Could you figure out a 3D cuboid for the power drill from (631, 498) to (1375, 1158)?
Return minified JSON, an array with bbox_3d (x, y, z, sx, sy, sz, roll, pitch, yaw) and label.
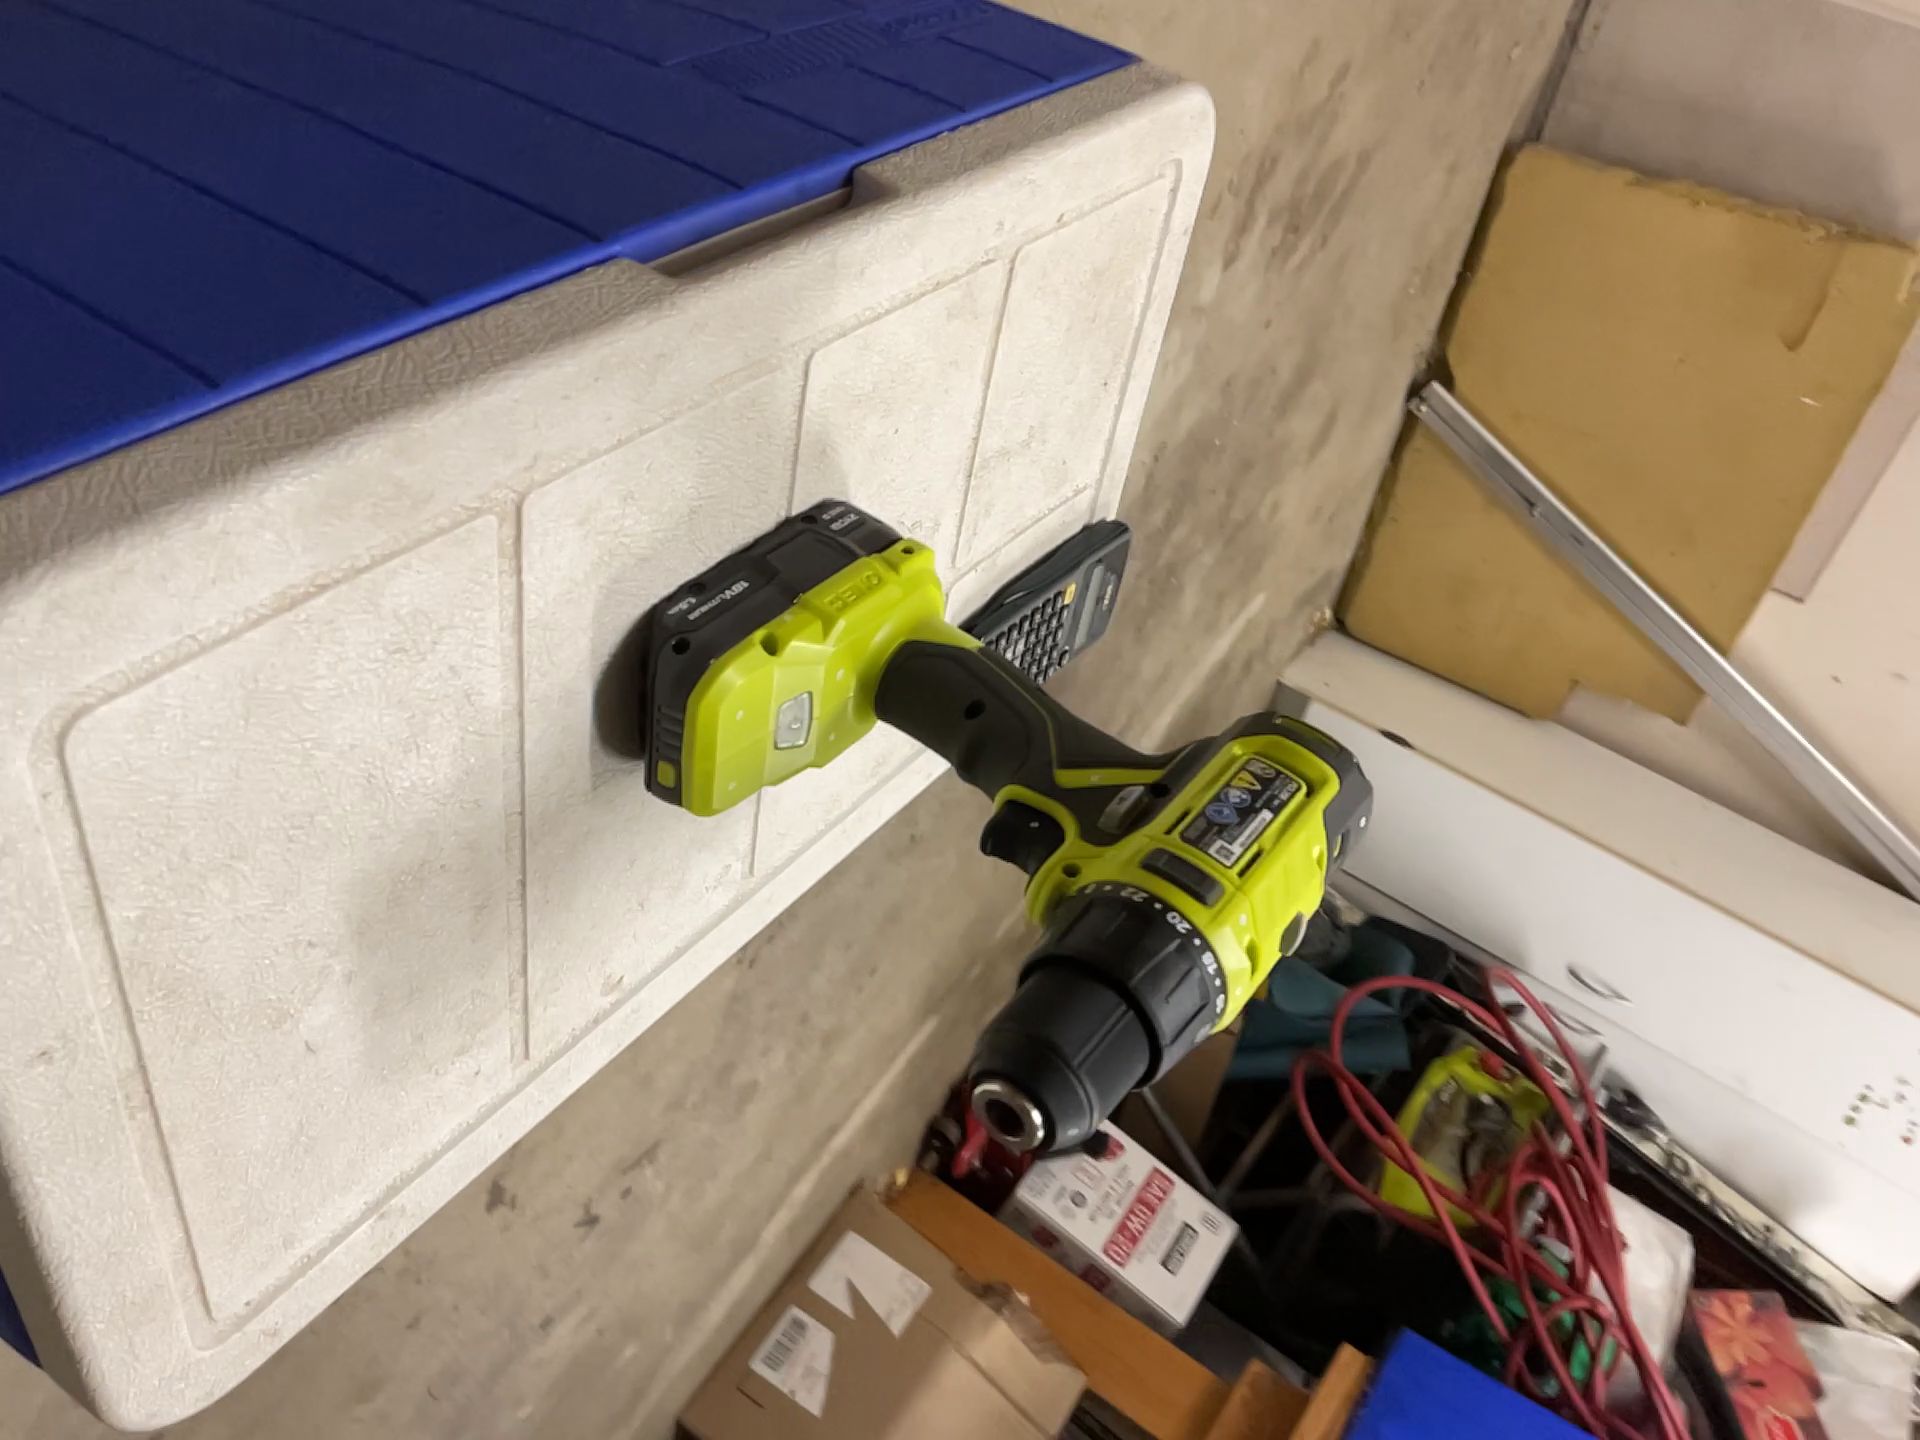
[{"bbox_3d":[0.002,0.027,0.529,0.191,0.228,0.080,-39,151,-42],"label":"power drill"}]
